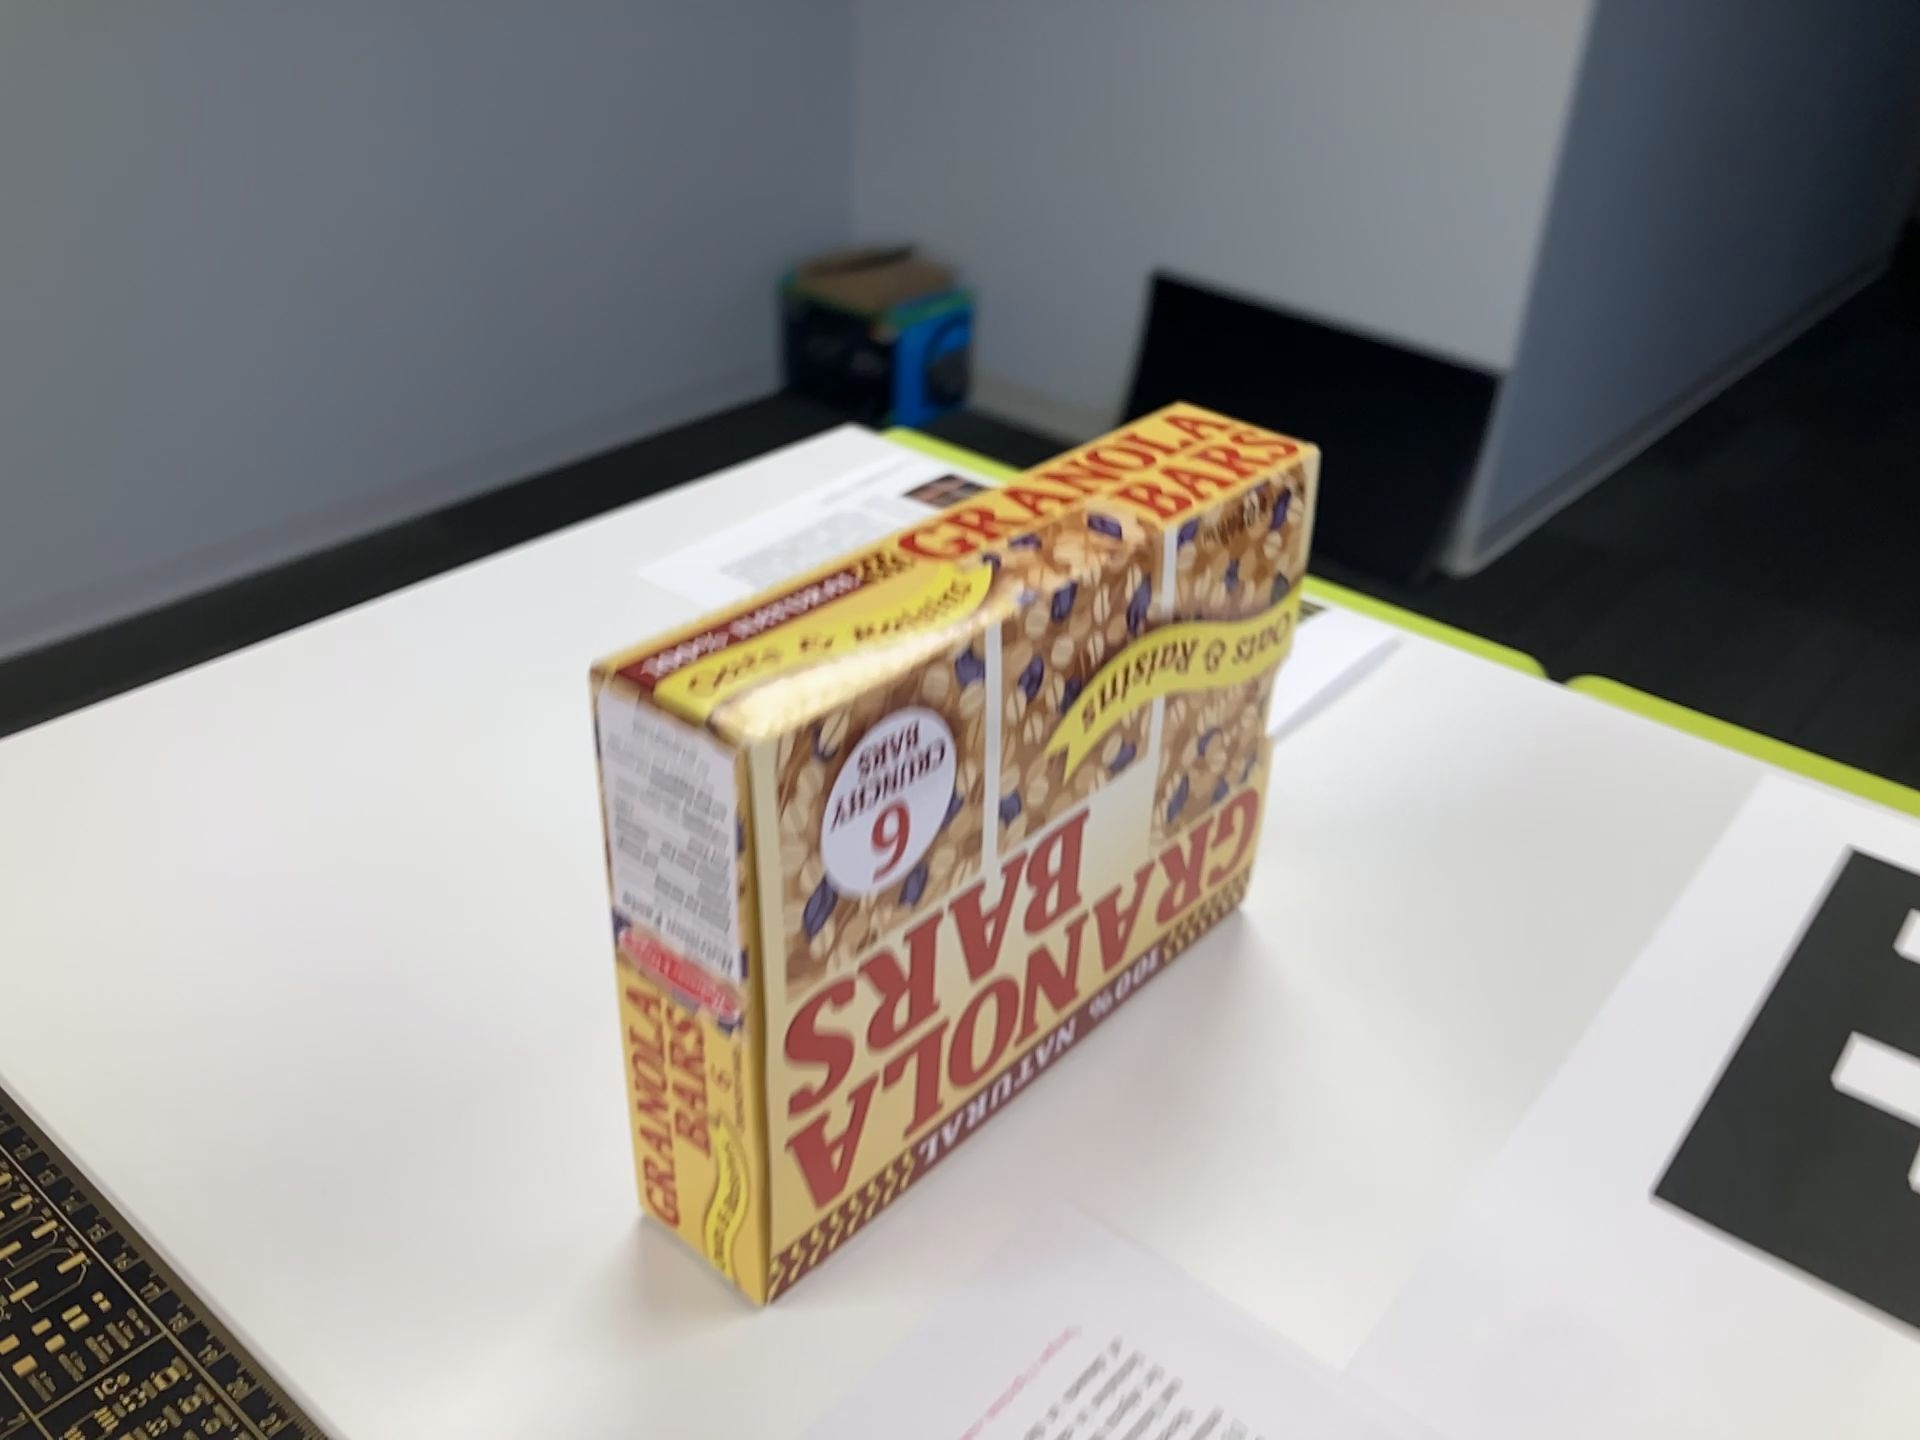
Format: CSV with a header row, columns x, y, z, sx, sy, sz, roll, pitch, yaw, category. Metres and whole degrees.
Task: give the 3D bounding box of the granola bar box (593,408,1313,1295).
x,y,z,sx,sy,sz,roll,pitch,yaw,category
0.008,0.019,0.328,0.039,0.124,0.165,26,39,33,granola bar box
